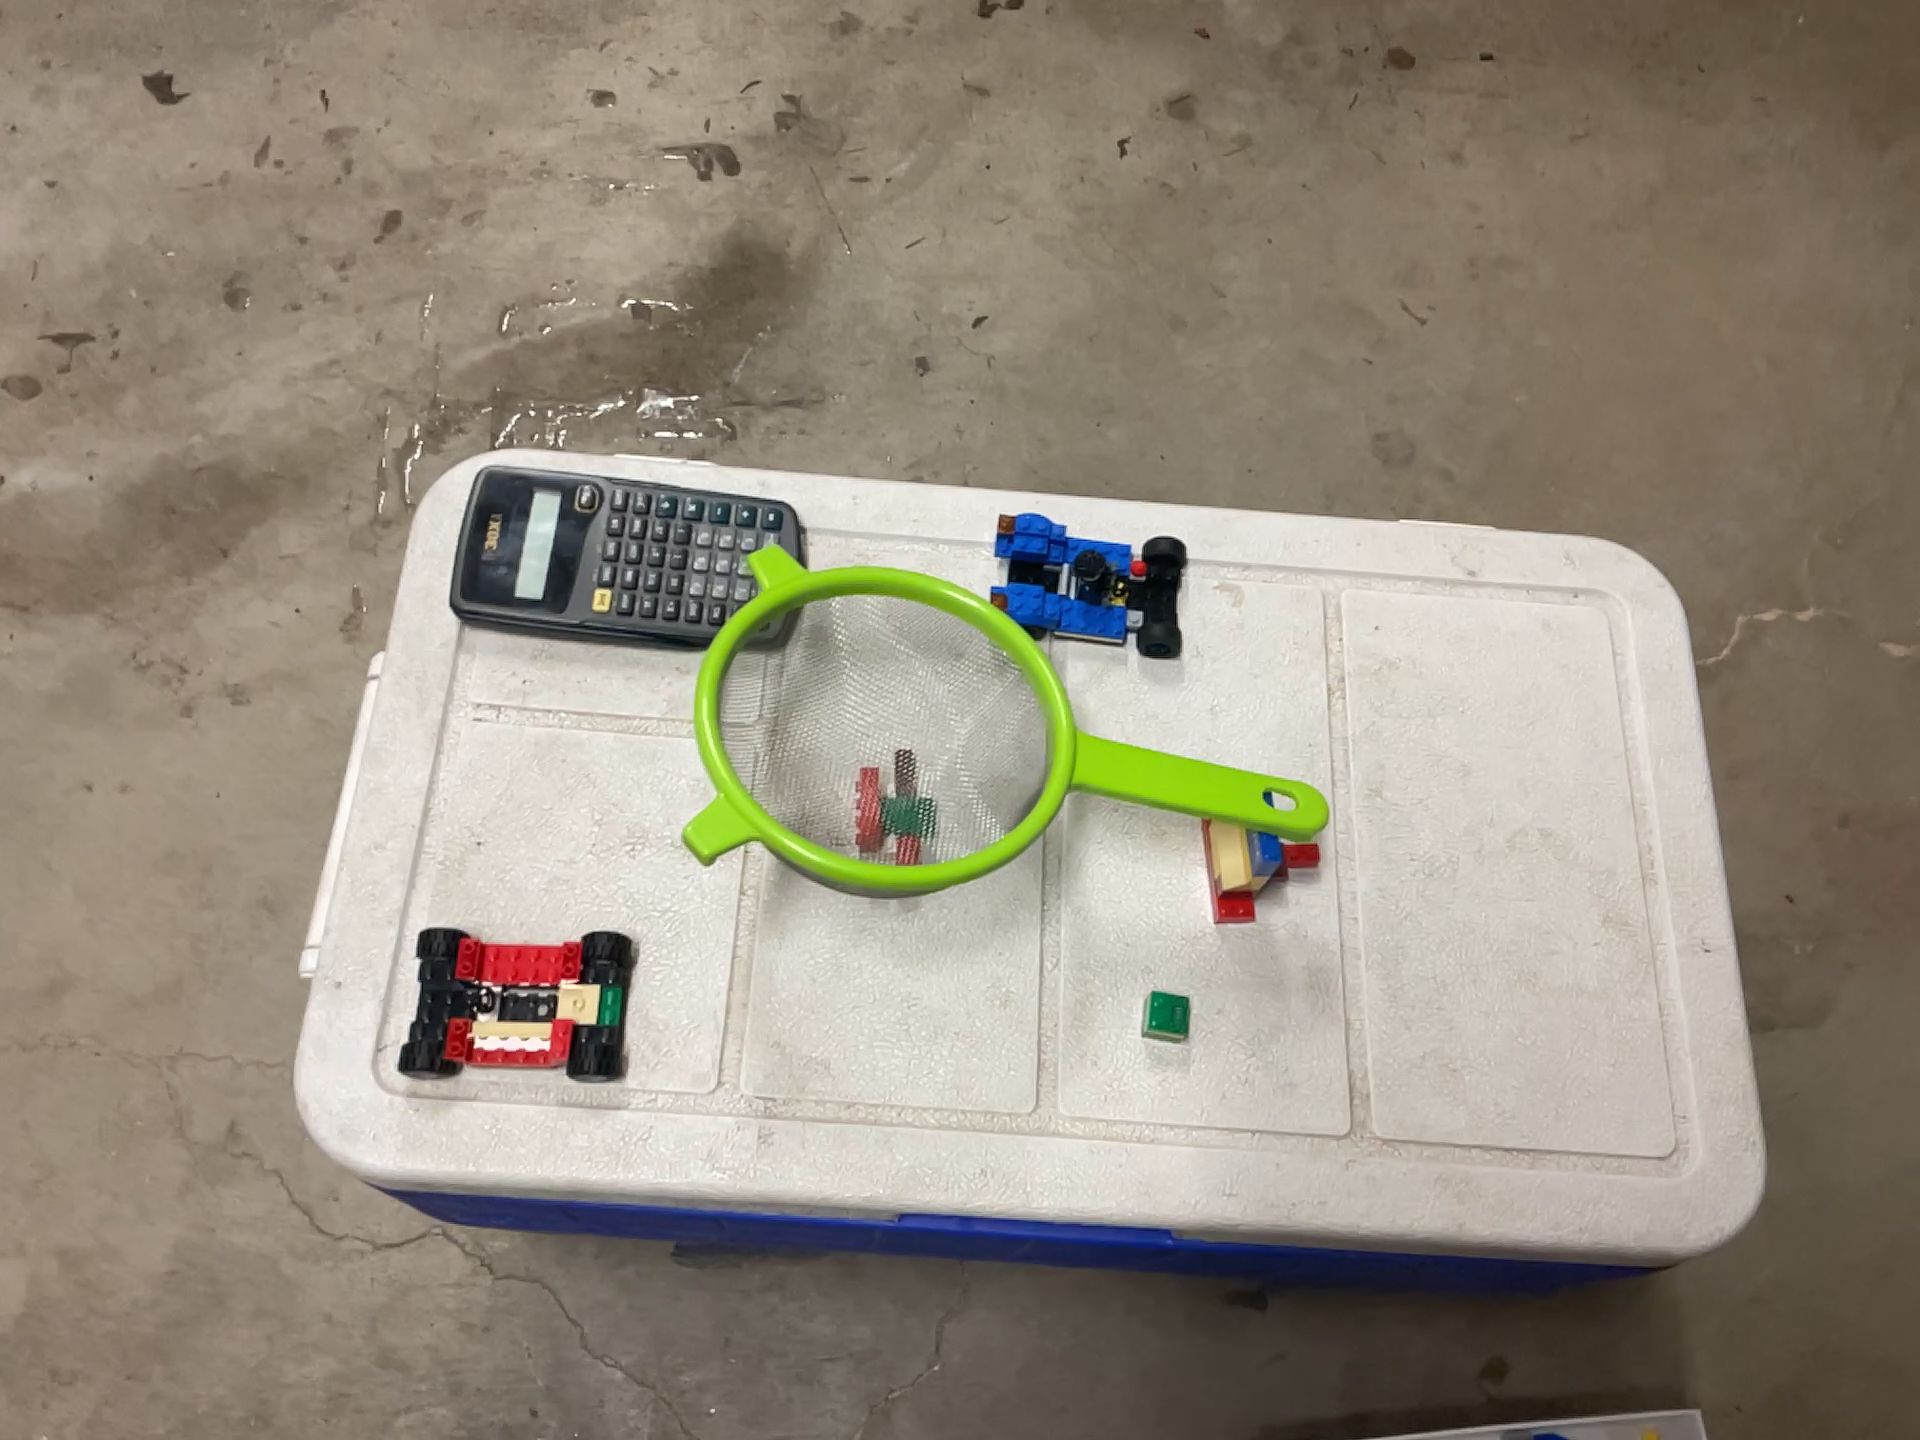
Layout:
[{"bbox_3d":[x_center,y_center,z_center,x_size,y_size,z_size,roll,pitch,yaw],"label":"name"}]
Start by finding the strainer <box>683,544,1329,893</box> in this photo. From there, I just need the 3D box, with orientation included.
[{"bbox_3d":[0.018,0.026,0.651,0.256,0.069,0.152,12,53,-8],"label":"strainer"}]
